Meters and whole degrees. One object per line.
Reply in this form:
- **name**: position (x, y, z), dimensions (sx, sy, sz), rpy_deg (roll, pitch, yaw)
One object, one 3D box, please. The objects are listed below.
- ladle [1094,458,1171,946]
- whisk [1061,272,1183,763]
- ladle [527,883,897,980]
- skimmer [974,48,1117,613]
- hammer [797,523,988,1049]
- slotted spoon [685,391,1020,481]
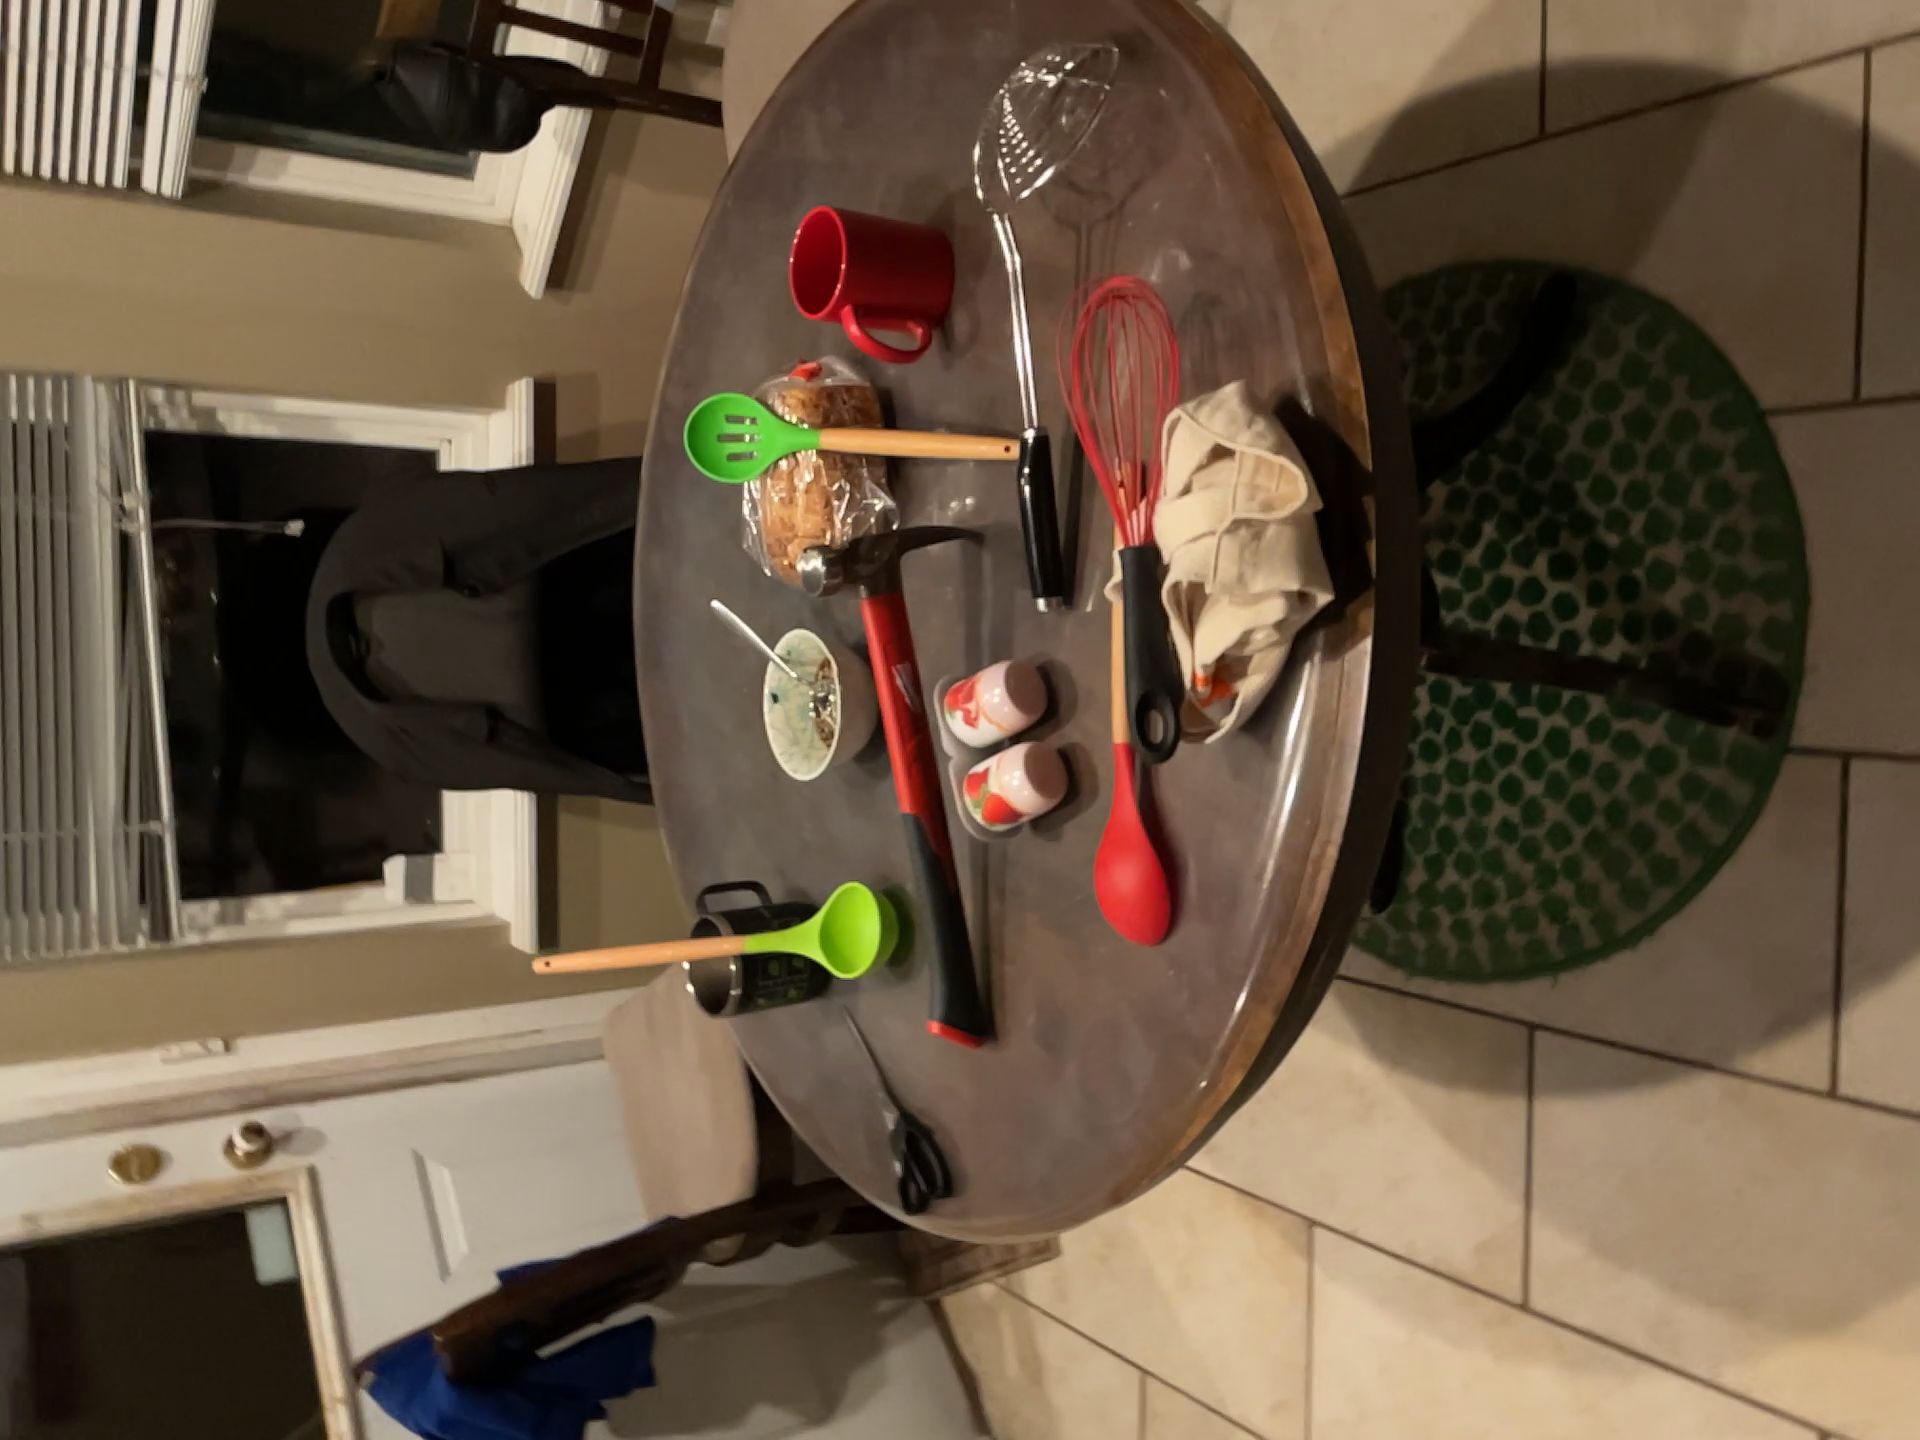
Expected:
- **ladle**: position (0.109, -0.011, 1.024), dimensions (0.069, 0.031, 0.315), rpy_deg (0, 89, 55)
- **whisk**: position (0.105, -0.122, 0.938), dimensions (0.073, 0.073, 0.296), rpy_deg (-10, 84, 54)
- **ladle**: position (-0.207, 0.185, 1.293), dimensions (0.062, 0.320, 0.078), rpy_deg (61, -156, -67)
- **skimmer**: position (0.069, -0.258, 1.066), dimensions (0.127, 0.090, 0.363), rpy_deg (16, 115, 62)
- **hammer**: position (-0.016, 0.050, 1.164), dimensions (0.038, 0.143, 0.386), rpy_deg (1, 104, 56)
- **slotted spoon**: position (-0.081, -0.210, 1.195), dimensions (0.314, 0.031, 0.070), rpy_deg (9, 104, 32)
